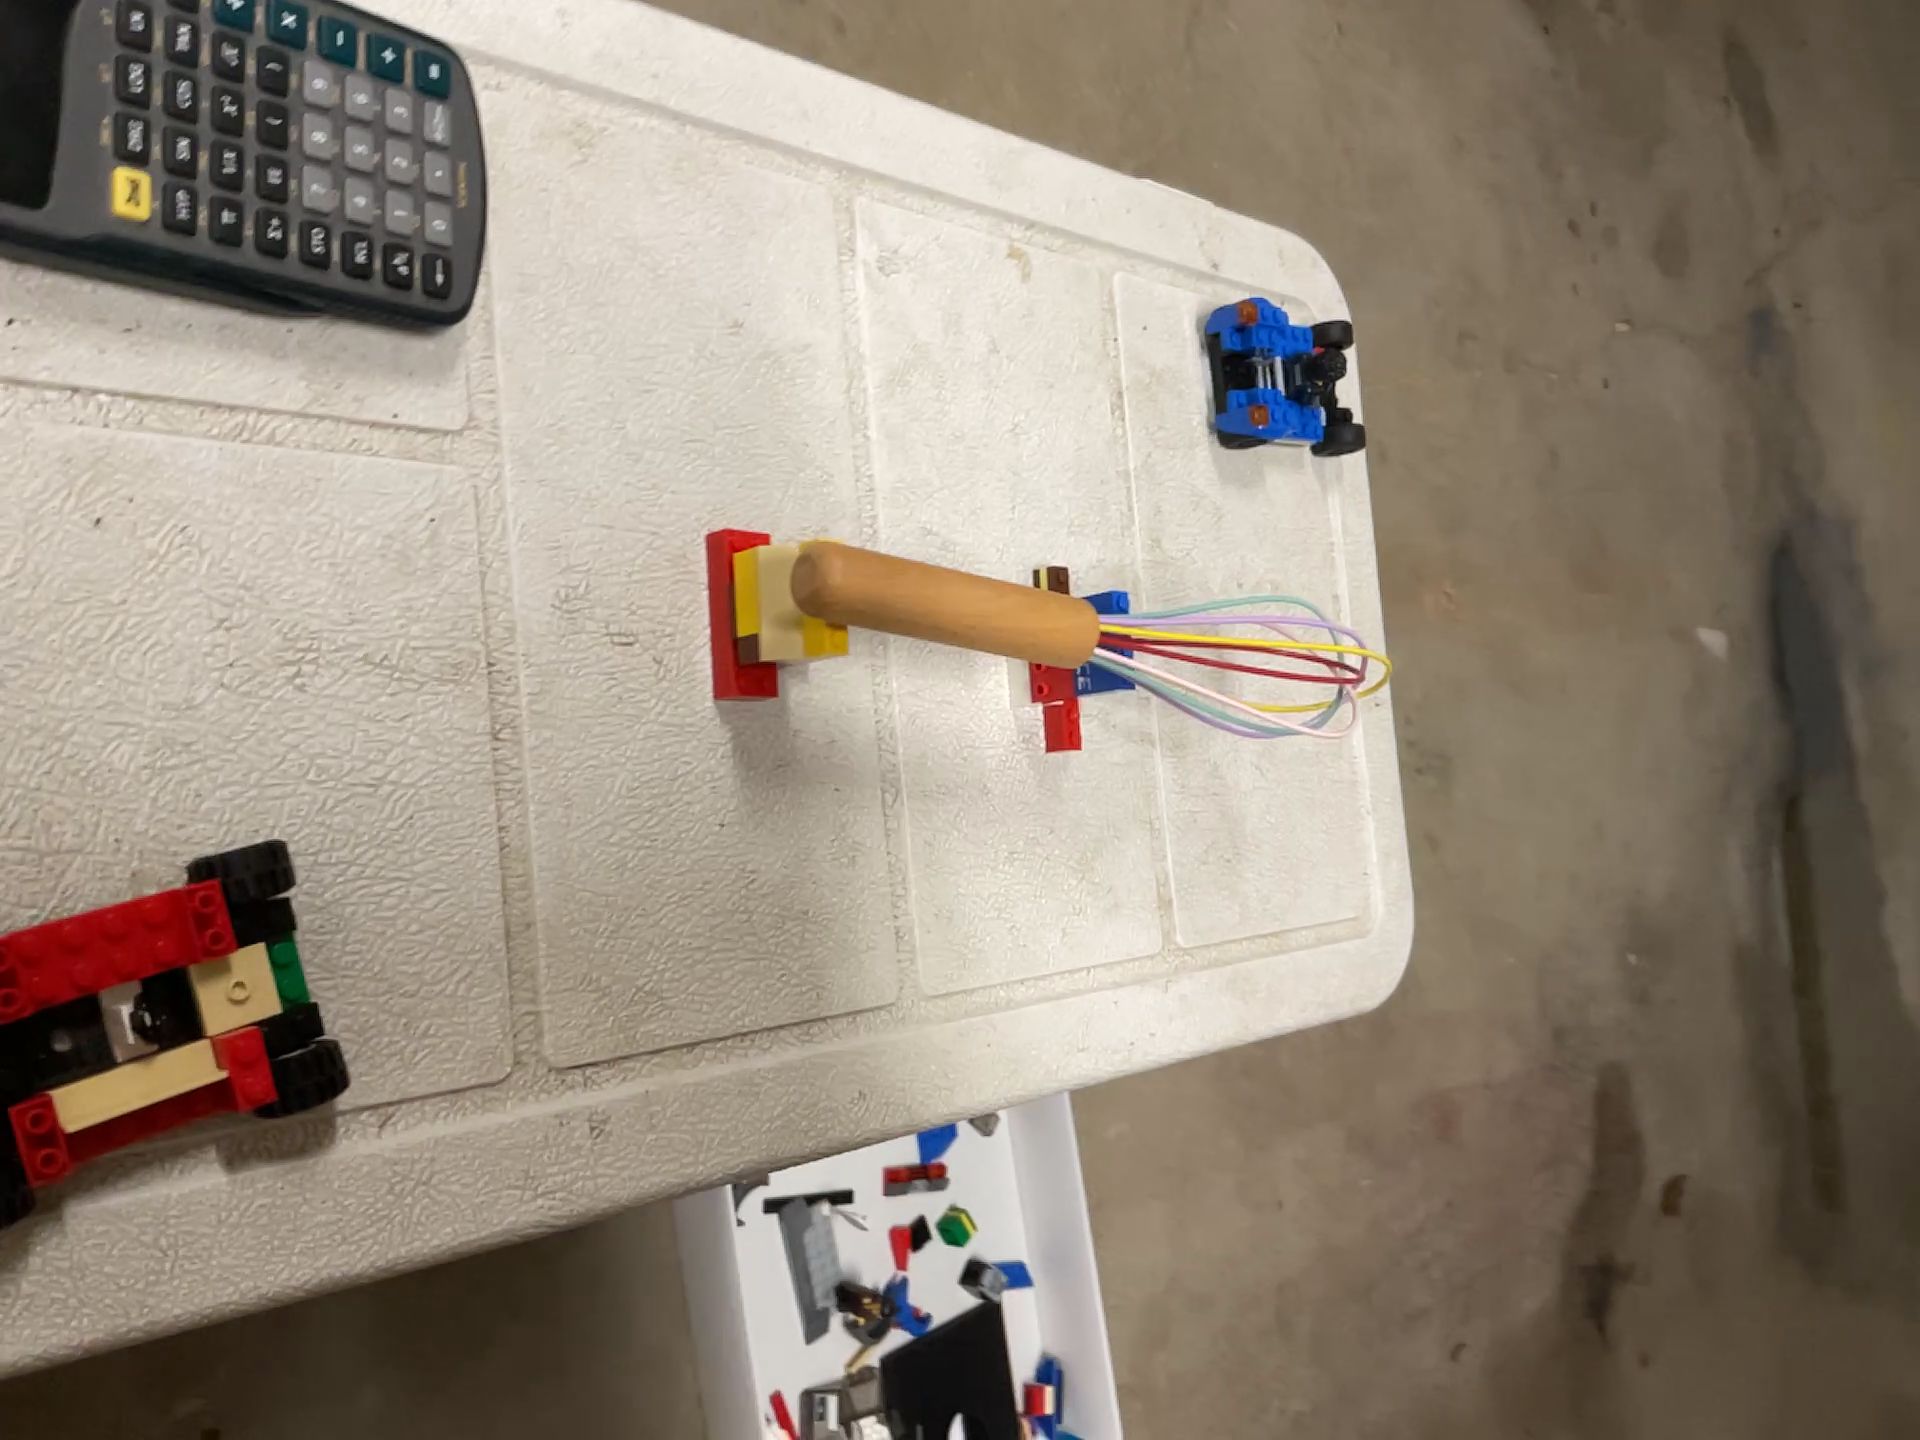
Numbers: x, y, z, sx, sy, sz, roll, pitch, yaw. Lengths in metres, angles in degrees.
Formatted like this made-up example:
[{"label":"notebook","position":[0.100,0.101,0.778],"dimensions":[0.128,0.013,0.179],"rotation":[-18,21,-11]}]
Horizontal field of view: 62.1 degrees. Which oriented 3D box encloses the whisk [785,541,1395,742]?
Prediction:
[{"label":"whisk","position":[0.053,-0.026,0.488],"dimensions":[0.245,0.047,0.051],"rotation":[9,90,-40]}]
